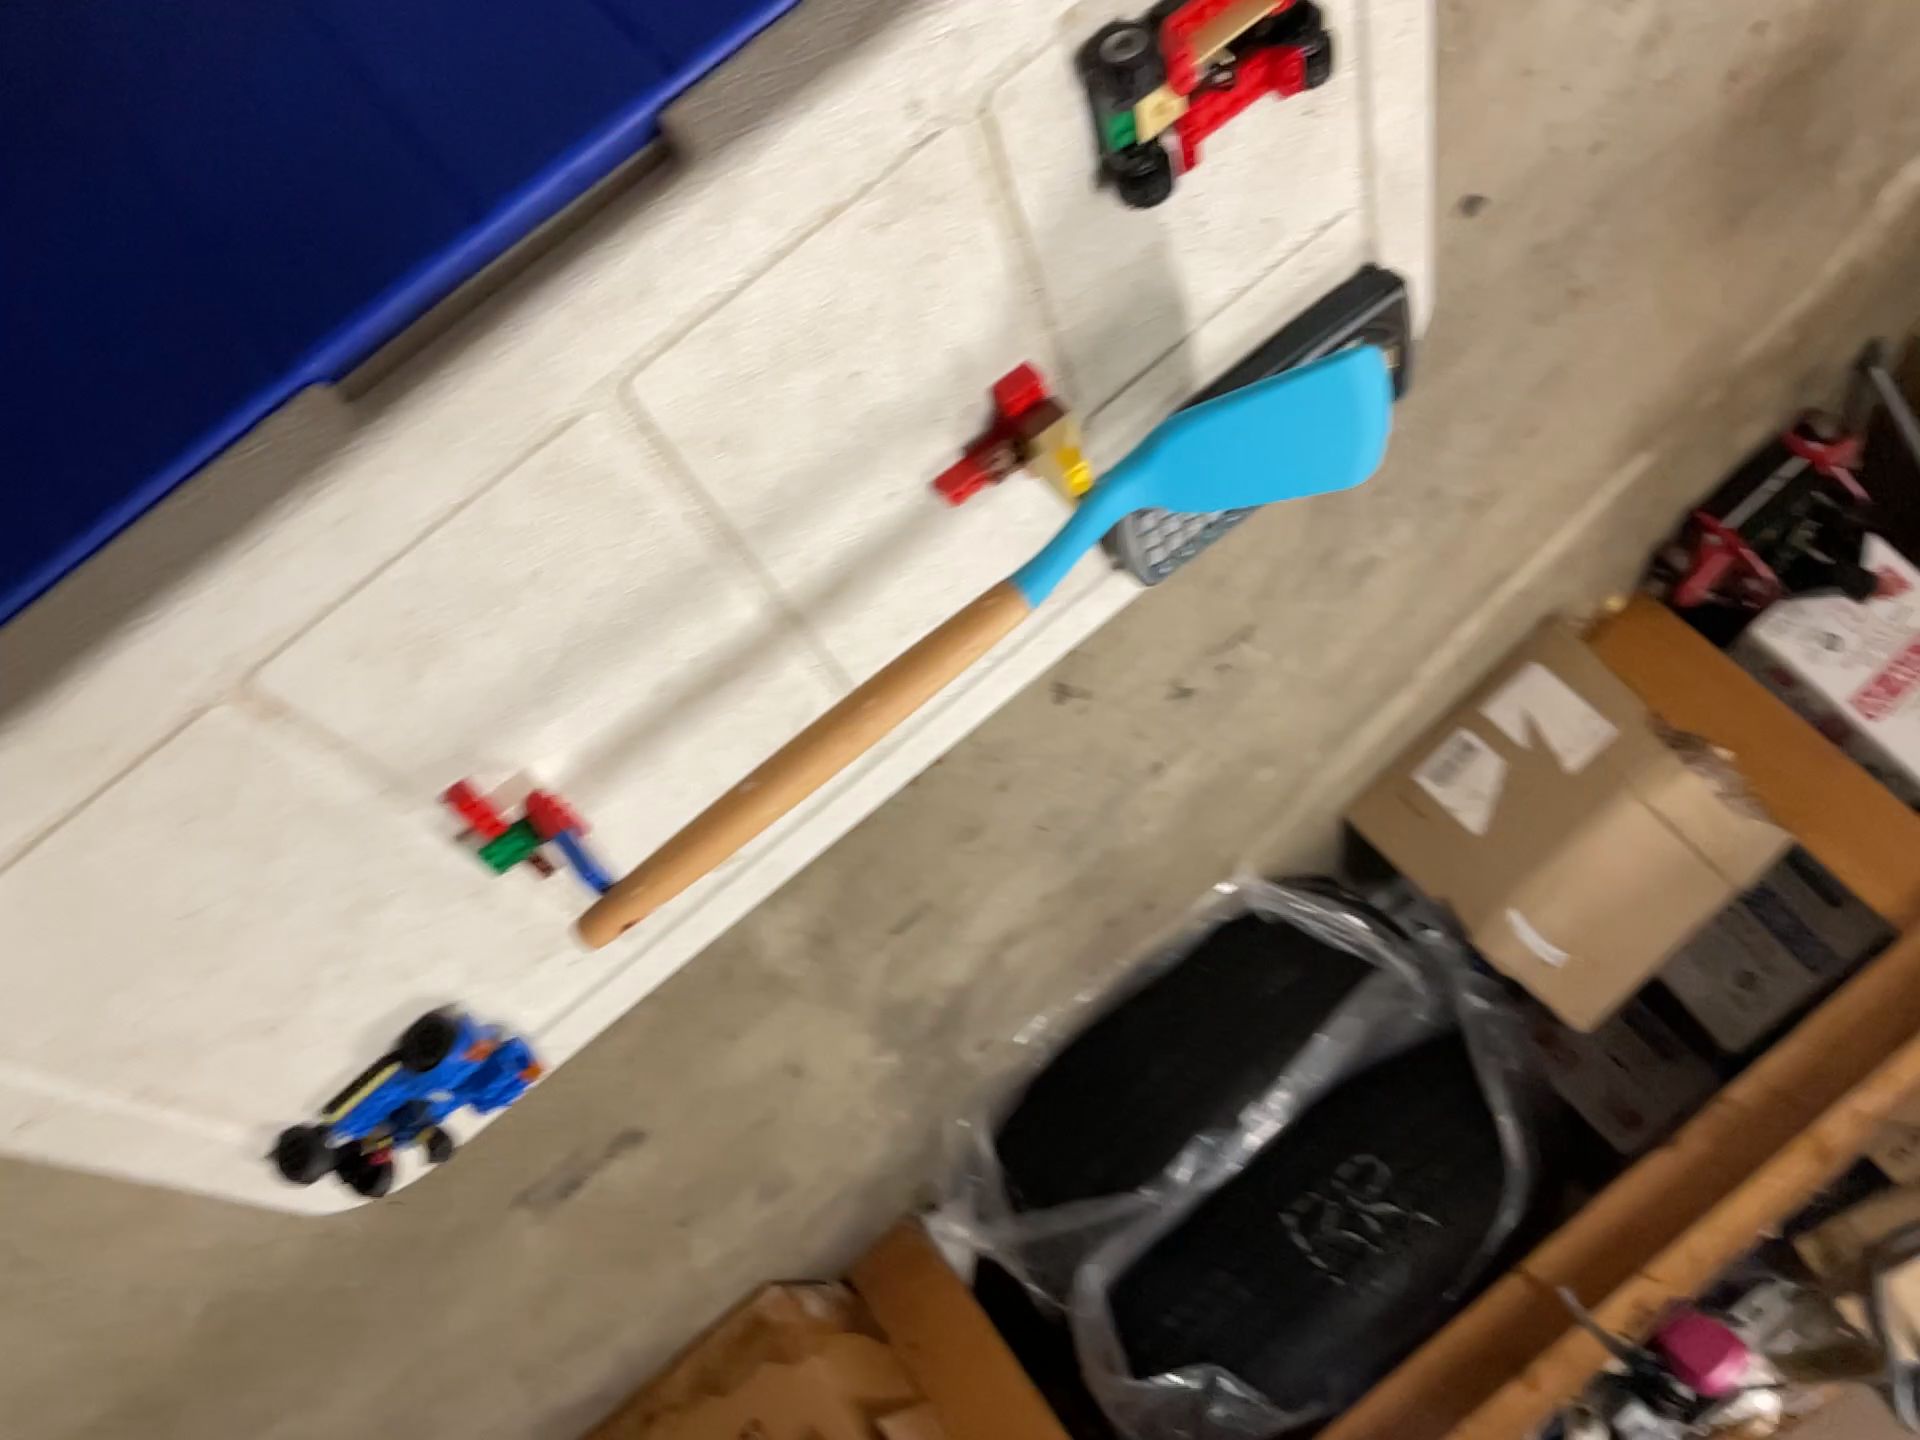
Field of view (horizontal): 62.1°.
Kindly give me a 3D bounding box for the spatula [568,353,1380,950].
[{"bbox_3d":[0.004,-0.019,0.533,0.317,0.044,0.082,-38,155,-5],"label":"spatula"}]
